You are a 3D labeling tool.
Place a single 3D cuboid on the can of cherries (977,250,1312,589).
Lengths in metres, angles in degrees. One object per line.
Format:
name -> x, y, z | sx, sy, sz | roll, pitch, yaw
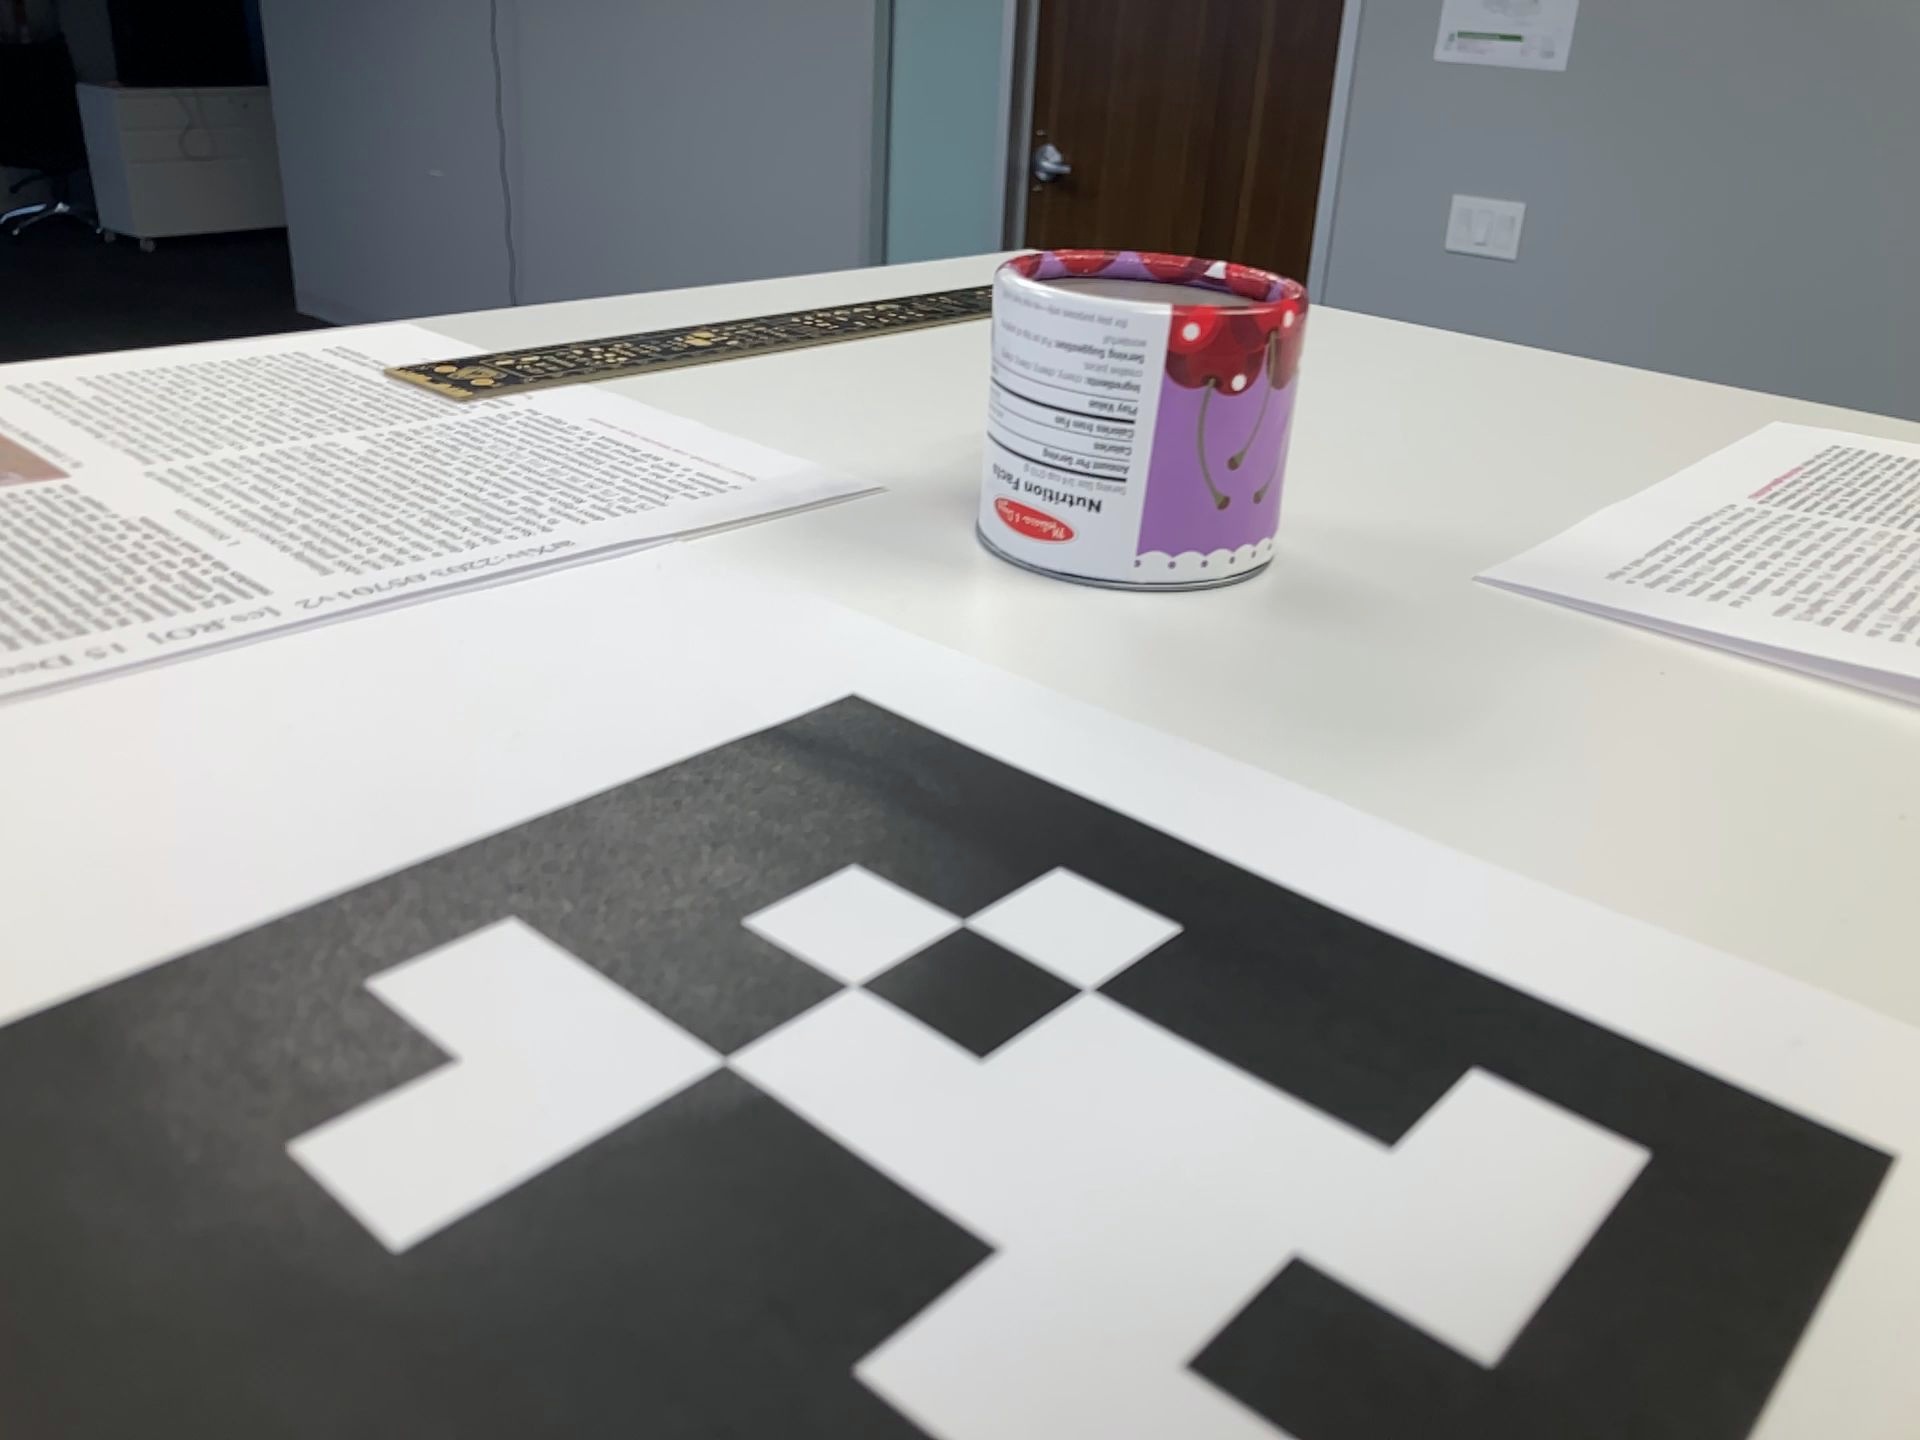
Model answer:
can of cherries -> 0.040, -0.067, 0.342 | 0.071, 0.058, 0.071 | 3, 24, -1
